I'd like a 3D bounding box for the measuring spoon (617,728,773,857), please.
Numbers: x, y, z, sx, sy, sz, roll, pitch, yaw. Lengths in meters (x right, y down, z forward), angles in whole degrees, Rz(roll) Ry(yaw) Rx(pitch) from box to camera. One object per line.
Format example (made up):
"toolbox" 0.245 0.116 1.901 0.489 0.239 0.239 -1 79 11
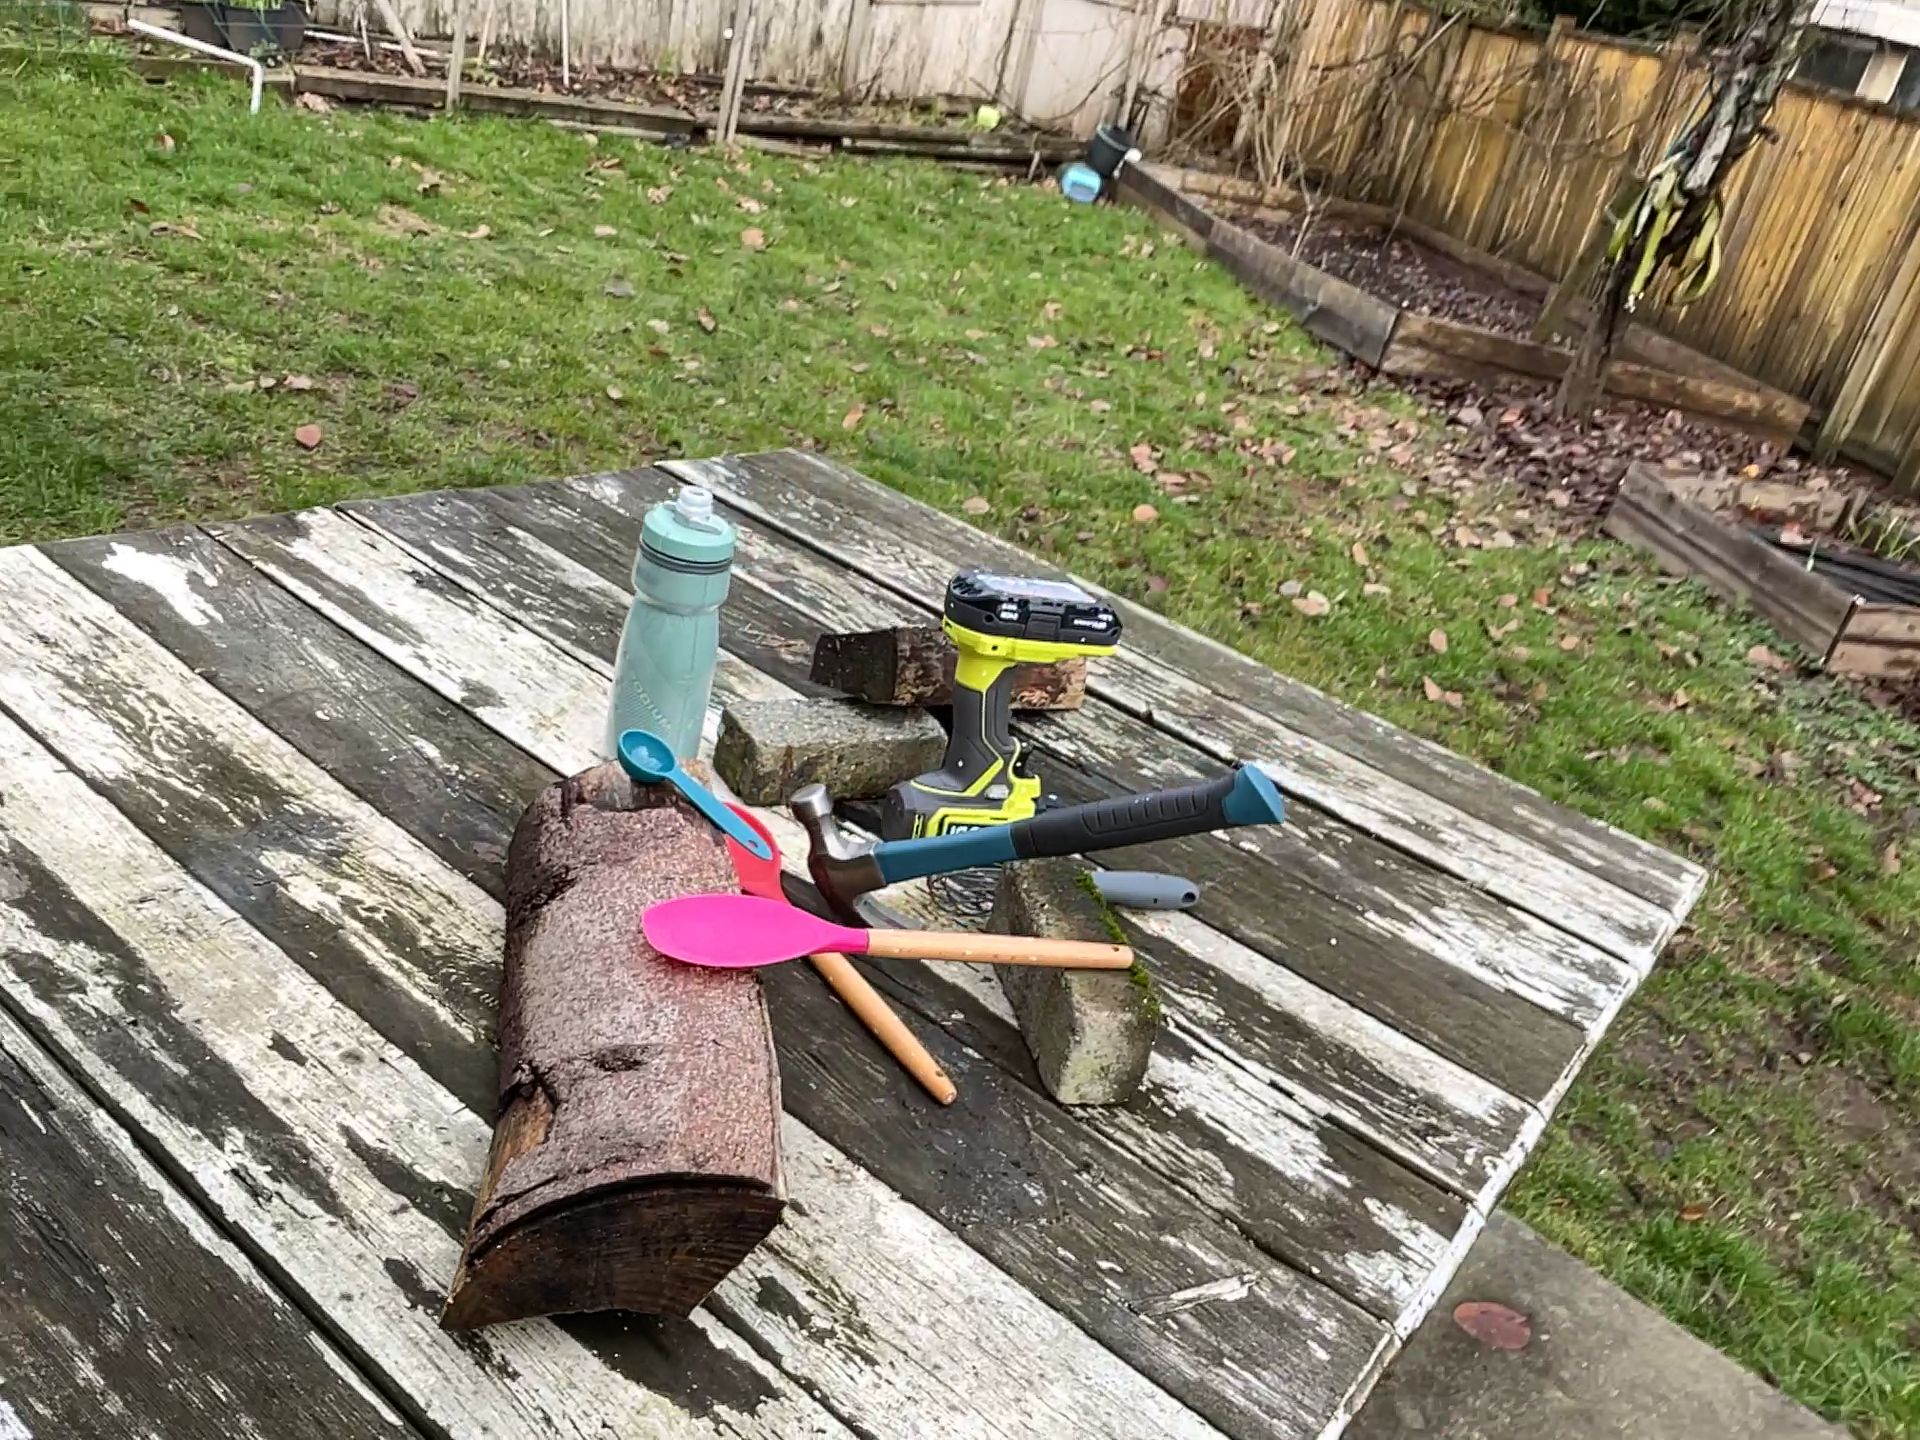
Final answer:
"measuring spoon" -0.179 0.055 1.064 0.128 0.021 0.042 40 27 1

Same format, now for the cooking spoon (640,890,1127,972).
"cooking spoon" -0.037 0.136 0.967 0.318 0.017 0.069 8 25 -24

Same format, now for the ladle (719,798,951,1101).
"ladle" -0.099 0.152 1.090 0.069 0.031 0.316 -4 34 -40

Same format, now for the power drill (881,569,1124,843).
"power drill" 0.043 0.004 1.243 0.171 0.223 0.080 5 20 -25

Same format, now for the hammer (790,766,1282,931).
"hammer" 0.052 0.080 1.088 0.331 0.128 0.033 -12 21 19

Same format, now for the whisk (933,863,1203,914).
"whisk" 0.086 0.123 1.216 0.238 0.055 0.055 6 35 -27
